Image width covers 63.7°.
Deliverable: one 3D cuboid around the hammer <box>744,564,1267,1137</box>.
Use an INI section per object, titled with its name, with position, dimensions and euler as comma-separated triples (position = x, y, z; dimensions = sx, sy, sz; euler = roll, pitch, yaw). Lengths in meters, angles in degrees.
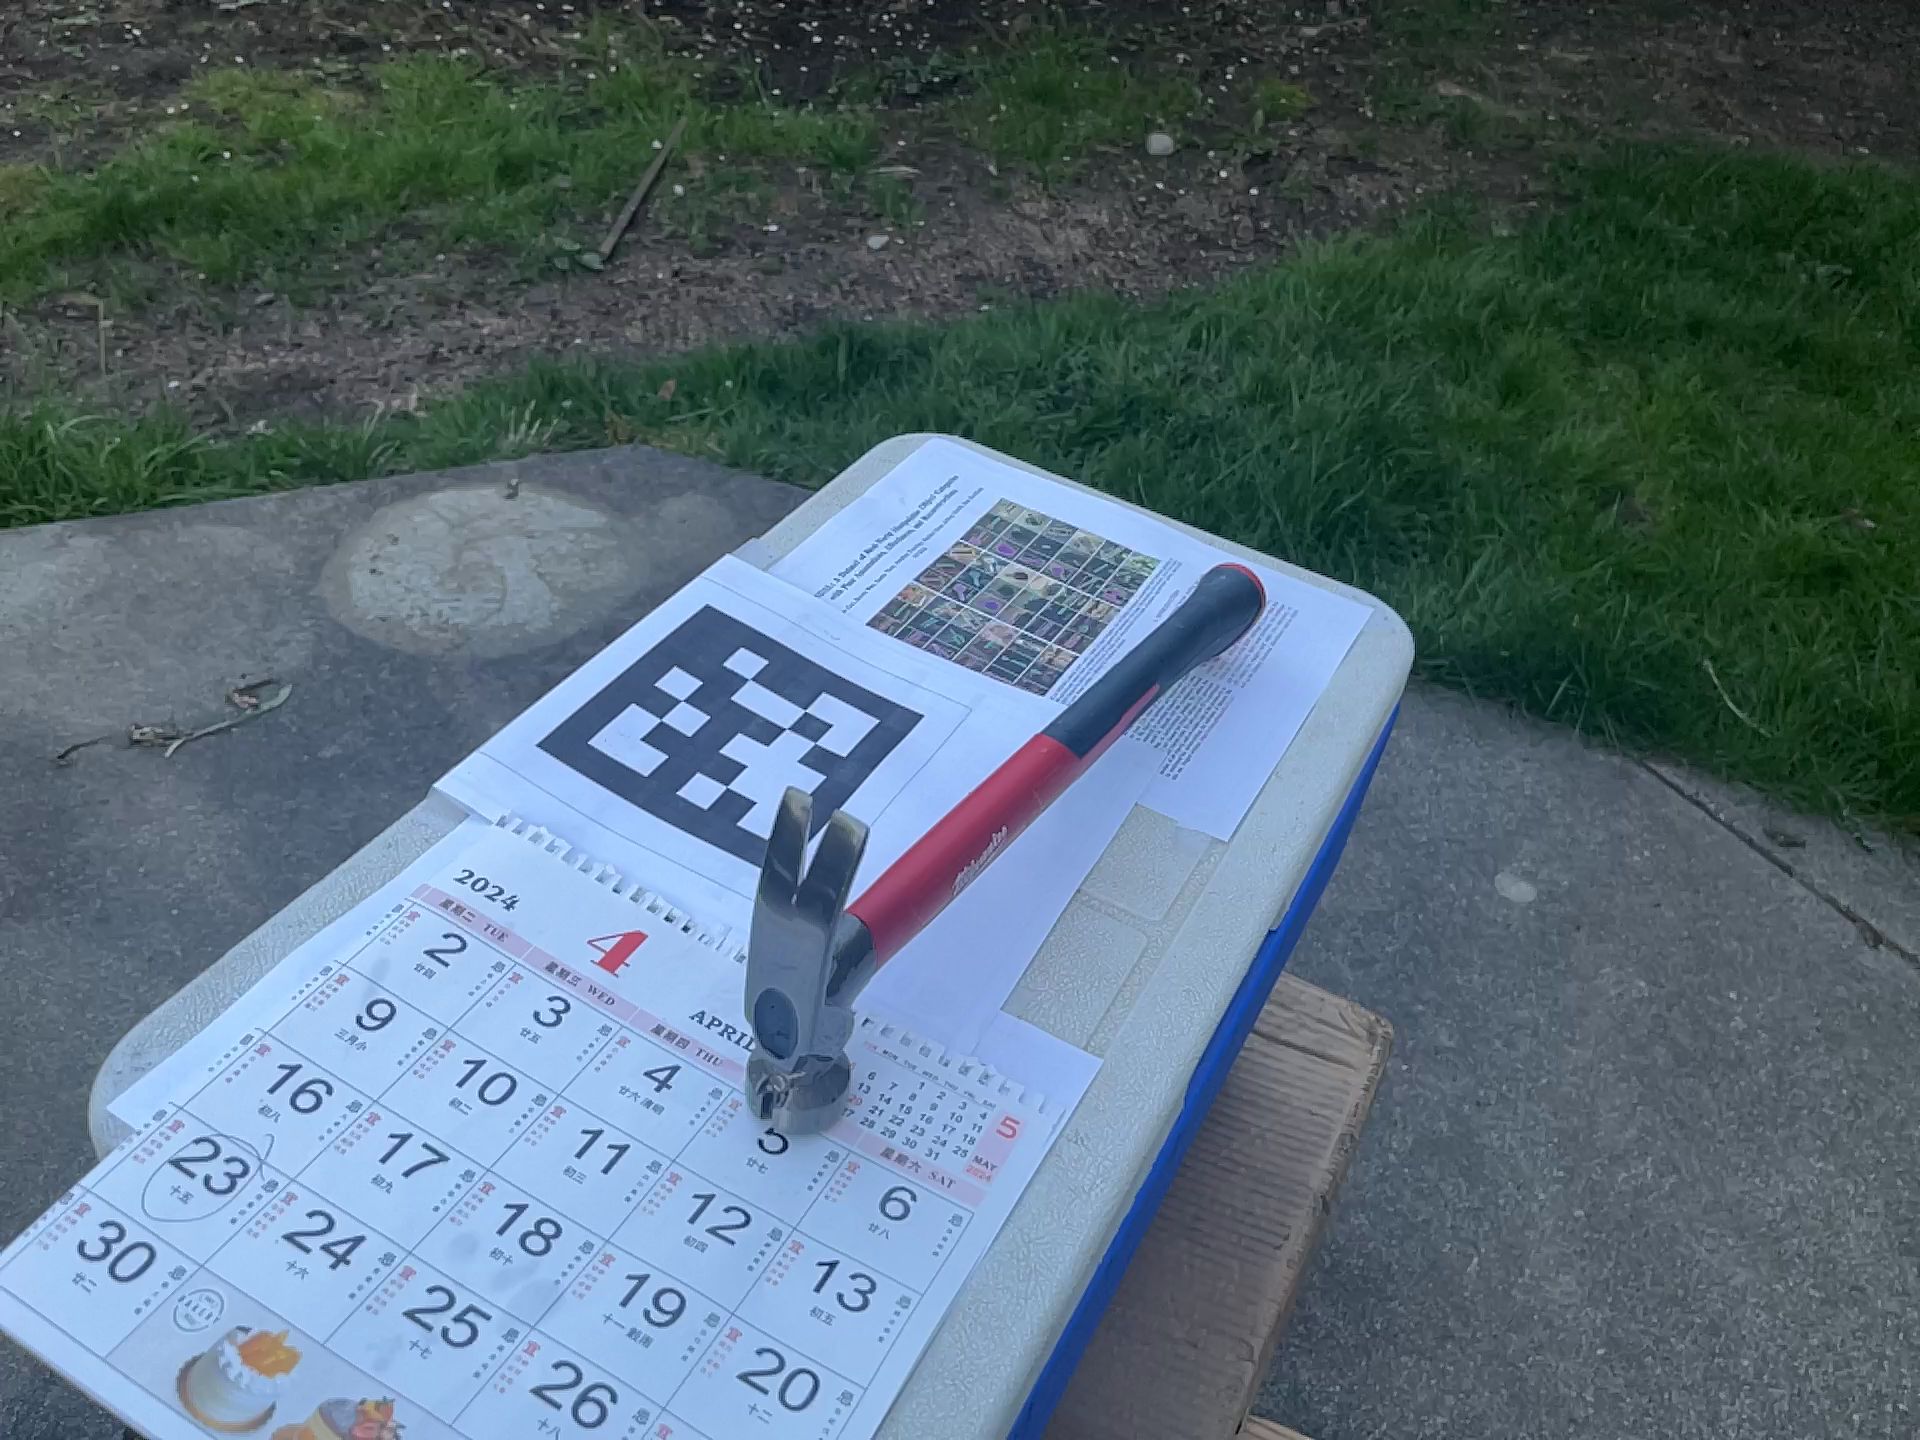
[hammer]
position = 0.043, 0.005, 0.650
dimensions = 0.038, 0.143, 0.386
euler = 27, 39, 21
